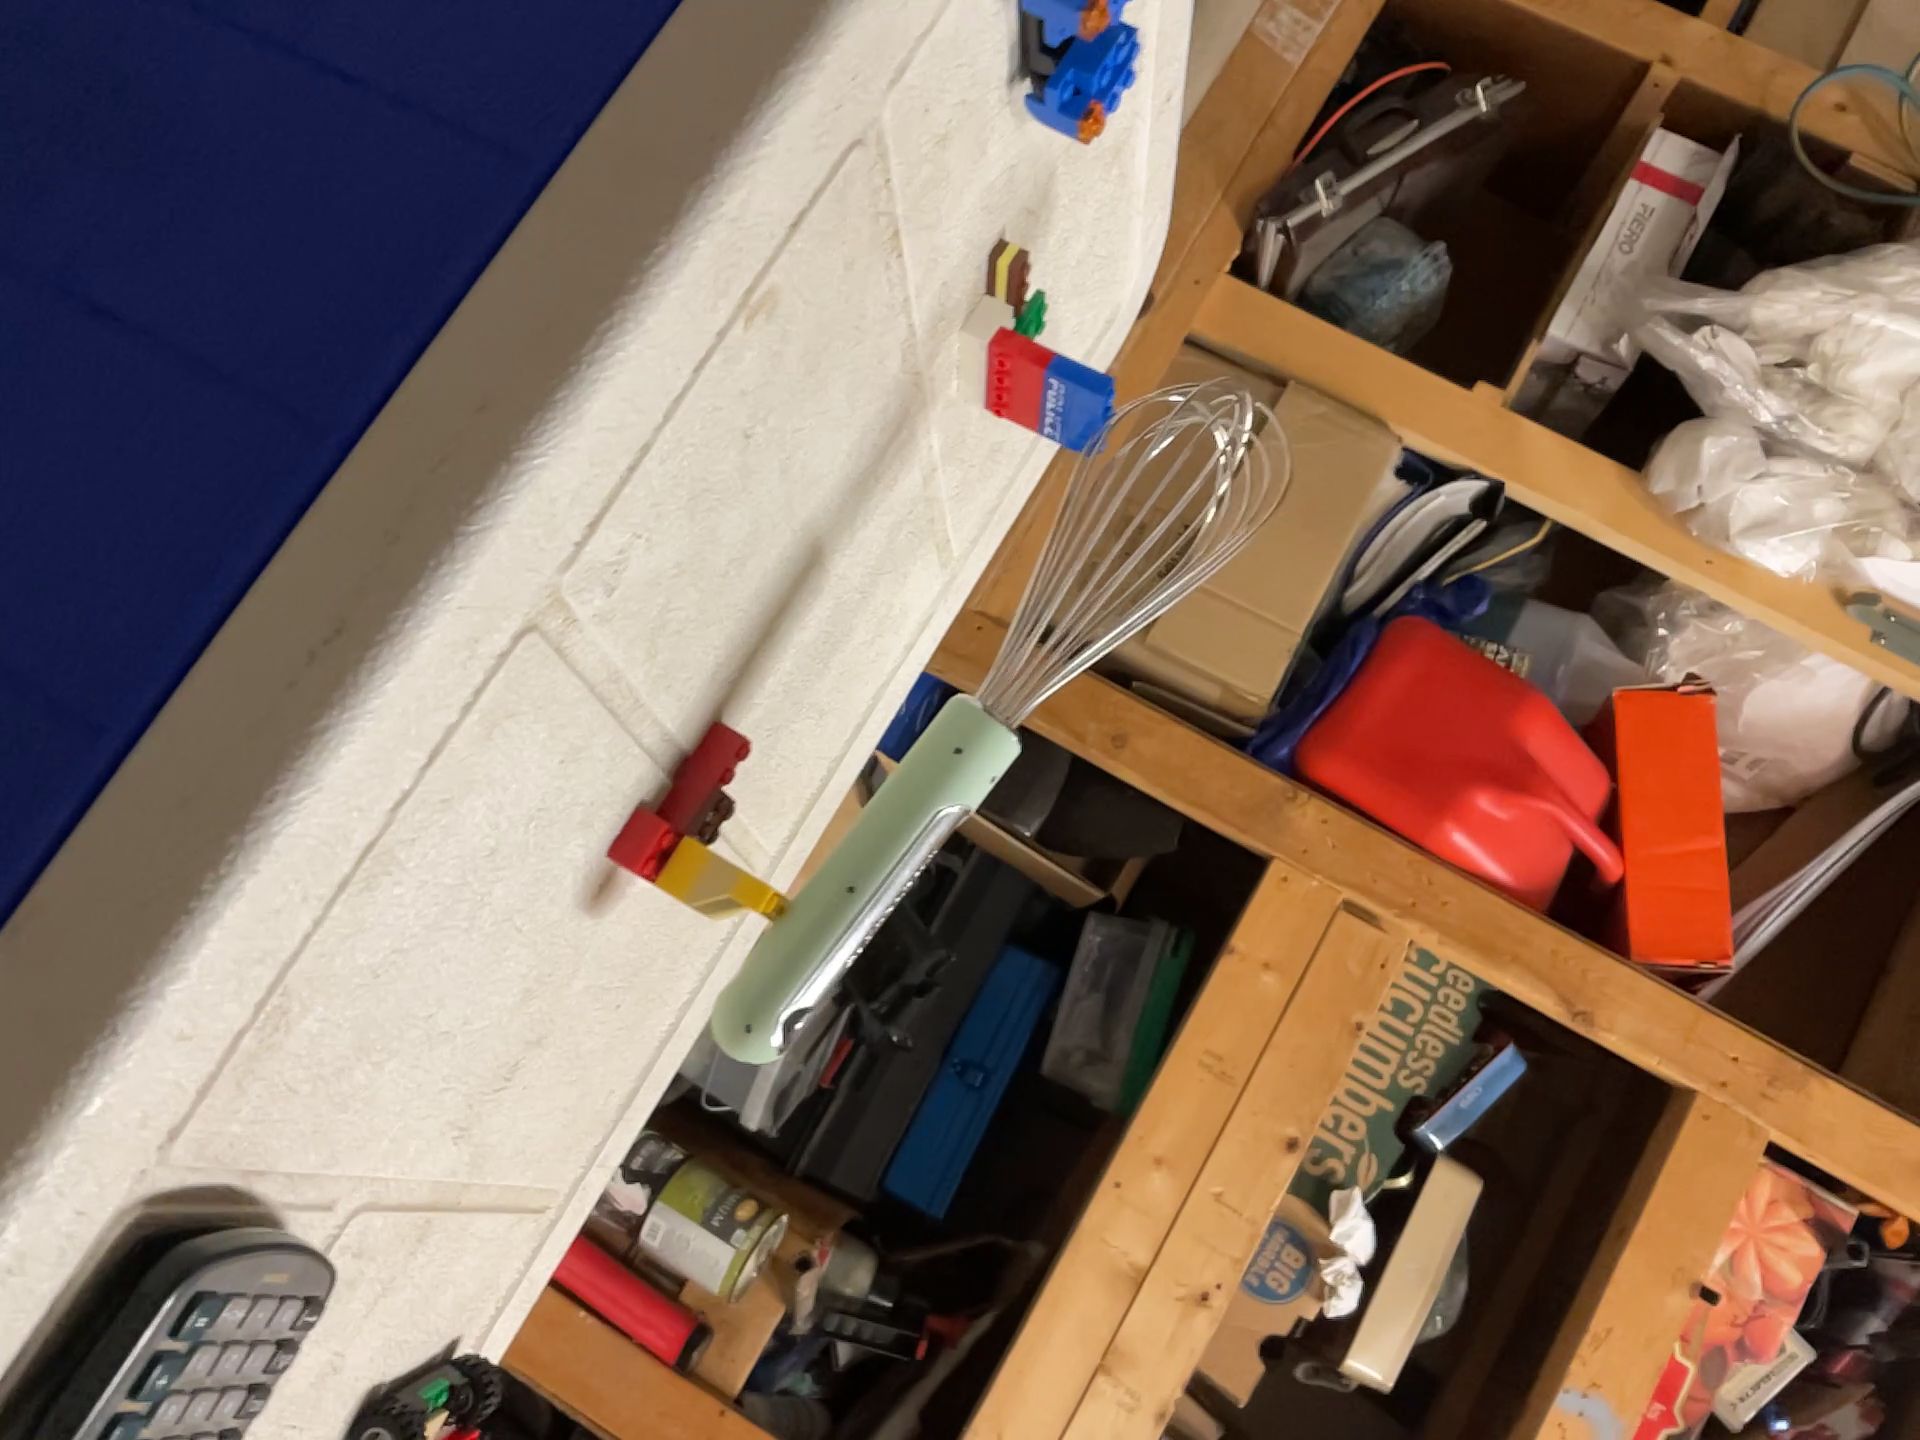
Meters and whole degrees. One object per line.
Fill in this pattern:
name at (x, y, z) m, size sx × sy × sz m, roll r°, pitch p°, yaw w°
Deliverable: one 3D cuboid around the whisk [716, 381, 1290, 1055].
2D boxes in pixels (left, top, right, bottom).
whisk at (0.013, -0.006, 0.462) m, size 0.246 × 0.059 × 0.057 m, roll -52°, pitch 160°, yaw -13°
